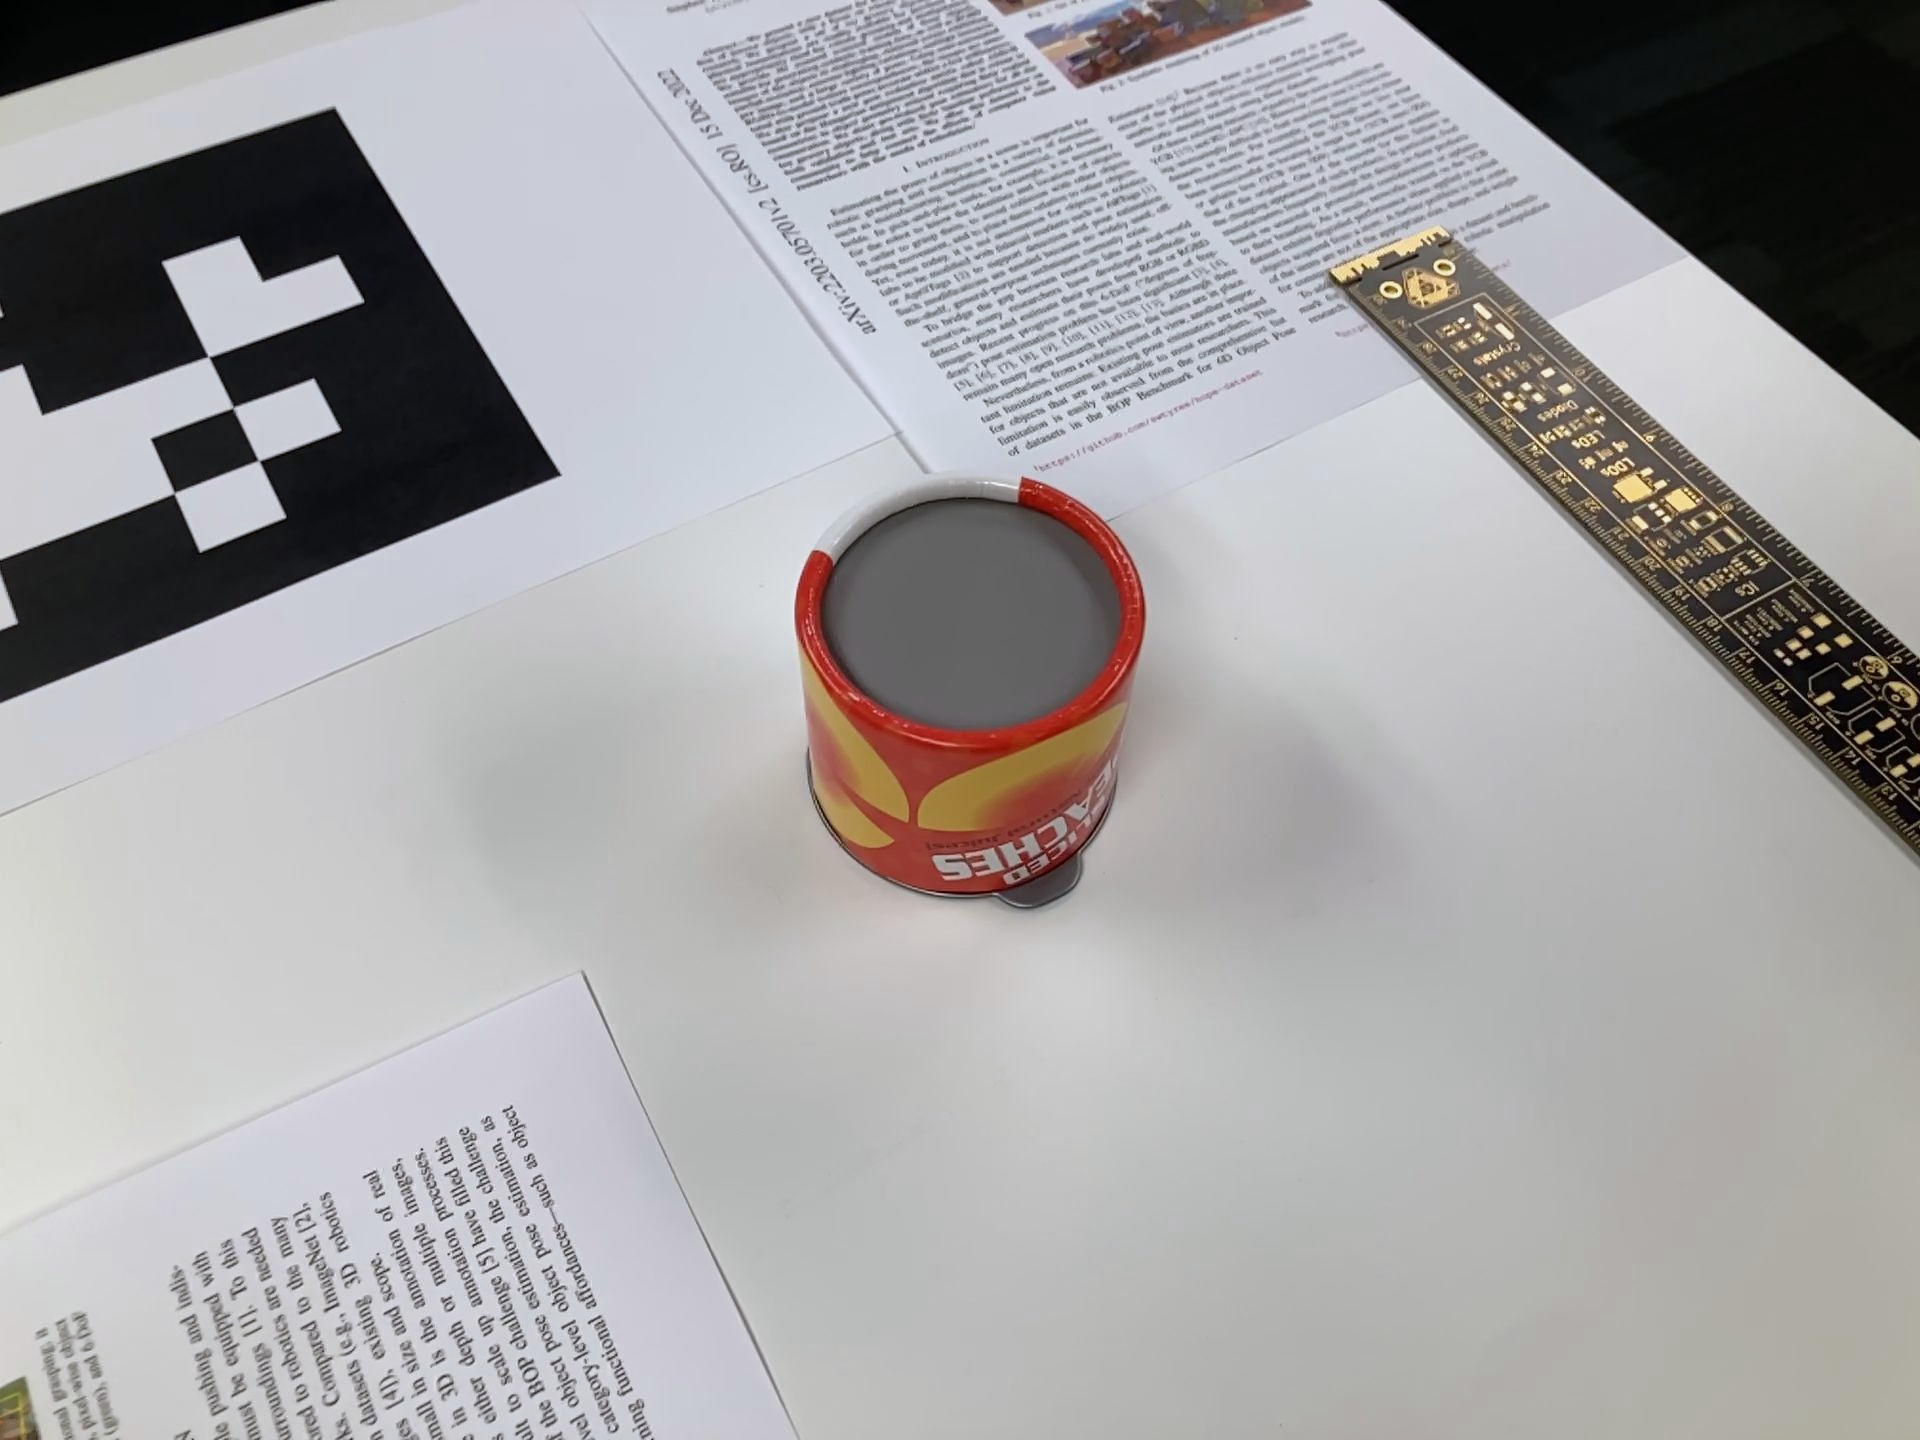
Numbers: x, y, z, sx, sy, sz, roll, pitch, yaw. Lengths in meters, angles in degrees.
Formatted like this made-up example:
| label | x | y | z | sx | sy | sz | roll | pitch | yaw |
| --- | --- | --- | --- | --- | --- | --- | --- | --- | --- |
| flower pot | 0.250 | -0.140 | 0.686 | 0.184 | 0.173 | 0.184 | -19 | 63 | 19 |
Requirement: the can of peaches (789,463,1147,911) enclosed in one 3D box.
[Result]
| label | x | y | z | sx | sy | sz | roll | pitch | yaw |
| --- | --- | --- | --- | --- | --- | --- | --- | --- | --- |
| can of peaches | 0.002 | -0.006 | 0.309 | 0.071 | 0.058 | 0.071 | 1 | 56 | -1 |
